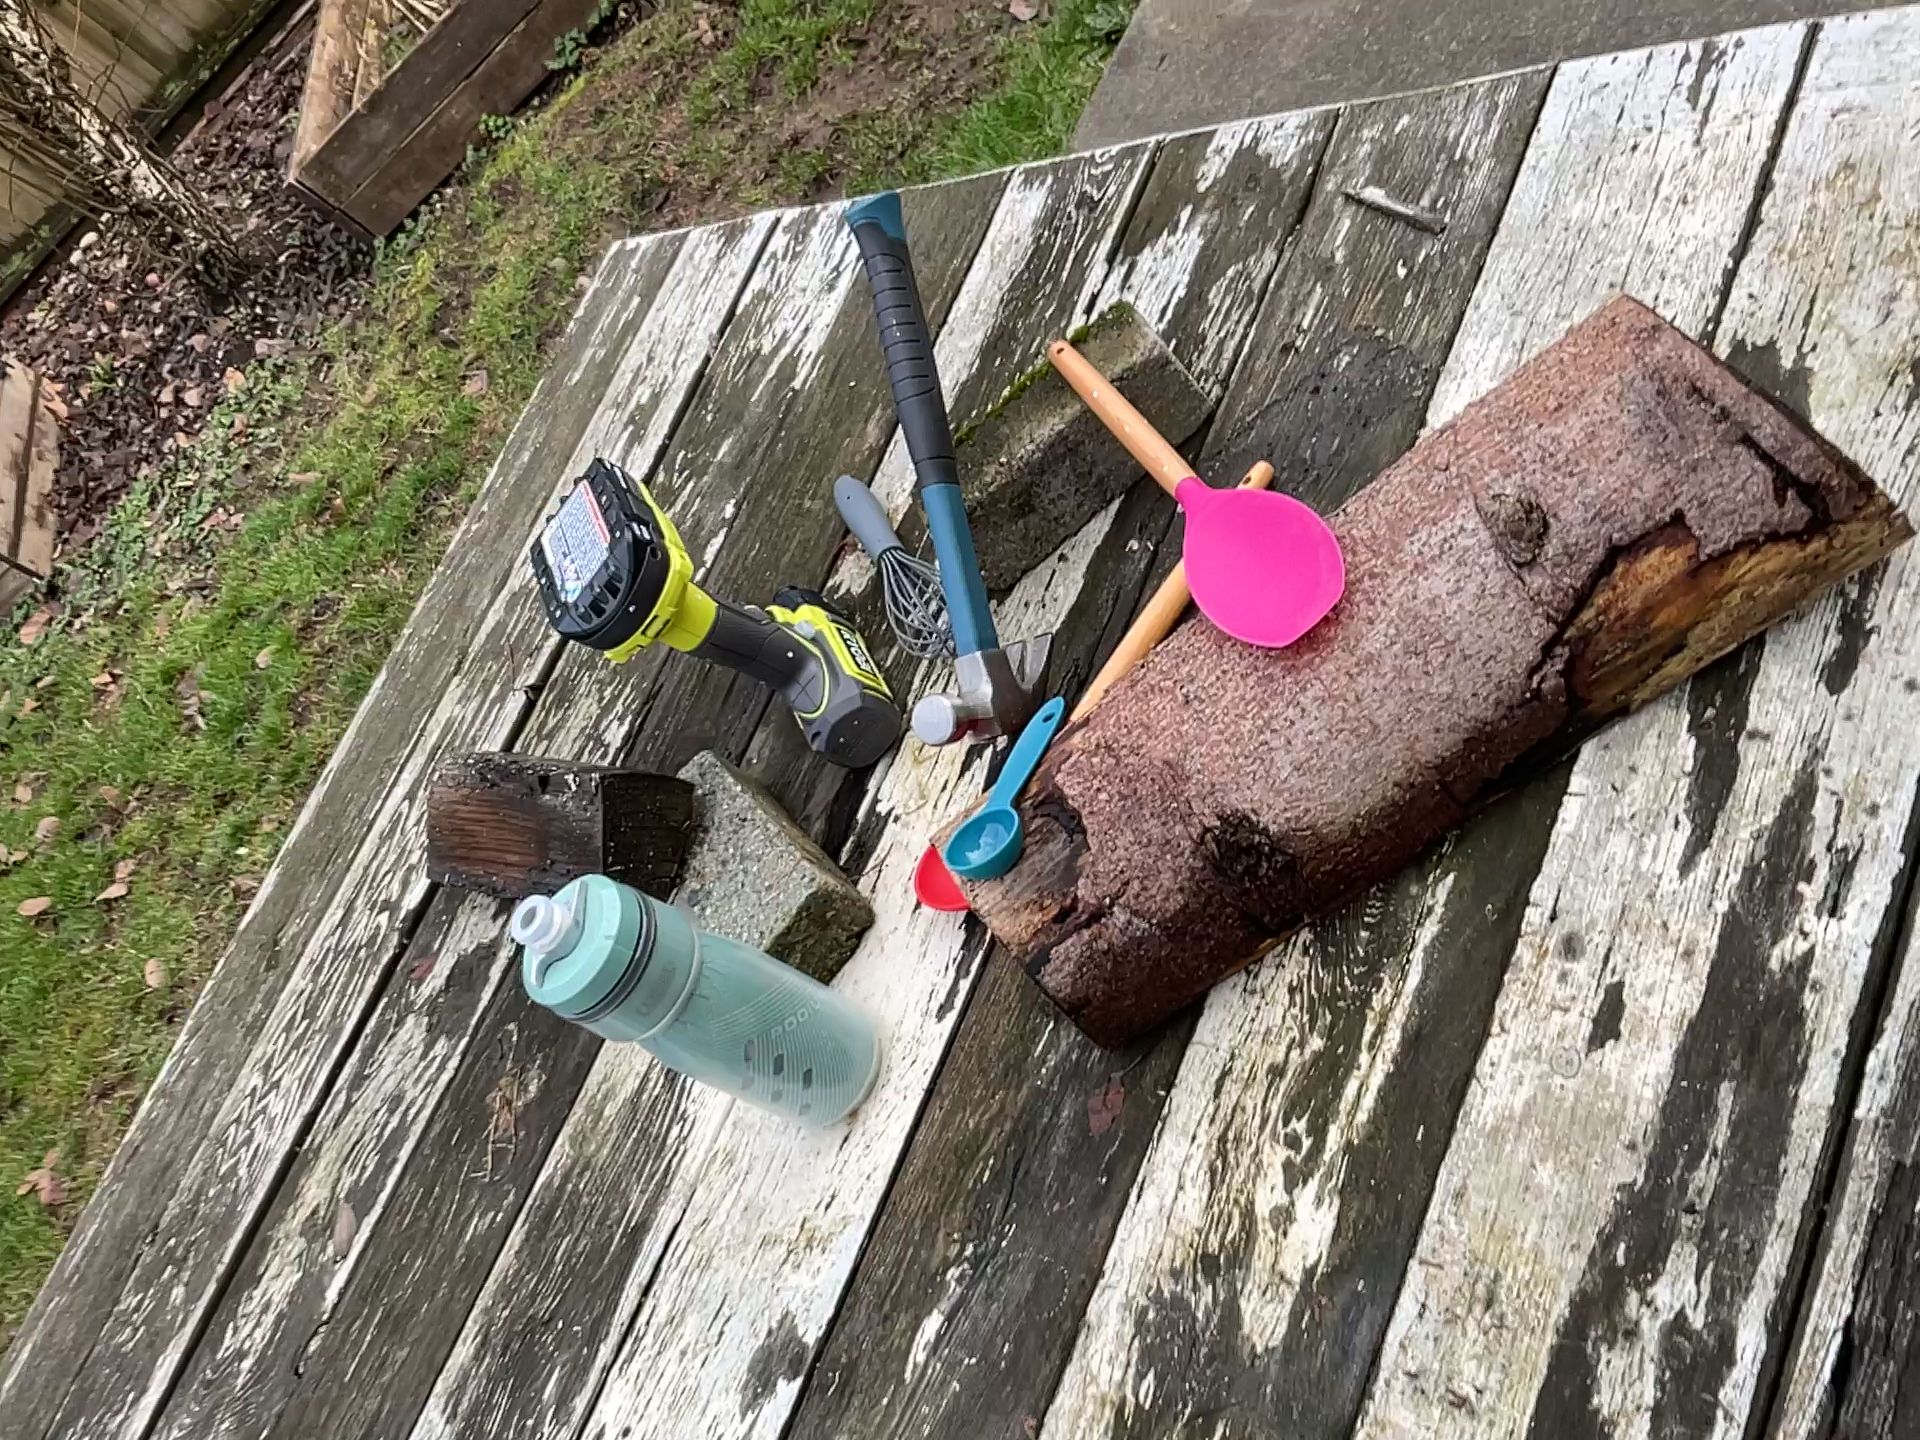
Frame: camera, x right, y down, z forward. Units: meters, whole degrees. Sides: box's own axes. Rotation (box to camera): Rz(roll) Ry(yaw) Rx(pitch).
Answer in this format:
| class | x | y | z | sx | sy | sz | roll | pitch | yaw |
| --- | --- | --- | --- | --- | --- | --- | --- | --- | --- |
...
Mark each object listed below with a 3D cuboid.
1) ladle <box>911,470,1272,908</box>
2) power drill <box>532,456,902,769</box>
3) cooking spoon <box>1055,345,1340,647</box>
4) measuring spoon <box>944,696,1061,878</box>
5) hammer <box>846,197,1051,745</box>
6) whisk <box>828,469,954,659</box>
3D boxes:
| class | x | y | z | sx | sy | sz | roll | pitch | yaw |
| --- | --- | --- | --- | --- | --- | --- | --- | --- | --- |
| ladle | 0.081 | -0.017 | 0.912 | 0.315 | 0.031 | 0.069 | -53 | 39 | -4 |
| power drill | -0.150 | -0.069 | 1.008 | 0.080 | 0.222 | 0.171 | -49 | 40 | 15 |
| cooking spoon | 0.111 | -0.132 | 0.843 | 0.069 | 0.017 | 0.319 | -43 | 38 | 12 |
| measuring spoon | 0.030 | 0.035 | 0.806 | 0.042 | 0.021 | 0.129 | -13 | 33 | 36 |
| hammer | -0.015 | -0.151 | 0.941 | 0.033 | 0.128 | 0.331 | -16 | 85 | 31 |
| whisk | -0.048 | -0.115 | 1.071 | 0.055 | 0.055 | 0.239 | -38 | 40 | 4 |
